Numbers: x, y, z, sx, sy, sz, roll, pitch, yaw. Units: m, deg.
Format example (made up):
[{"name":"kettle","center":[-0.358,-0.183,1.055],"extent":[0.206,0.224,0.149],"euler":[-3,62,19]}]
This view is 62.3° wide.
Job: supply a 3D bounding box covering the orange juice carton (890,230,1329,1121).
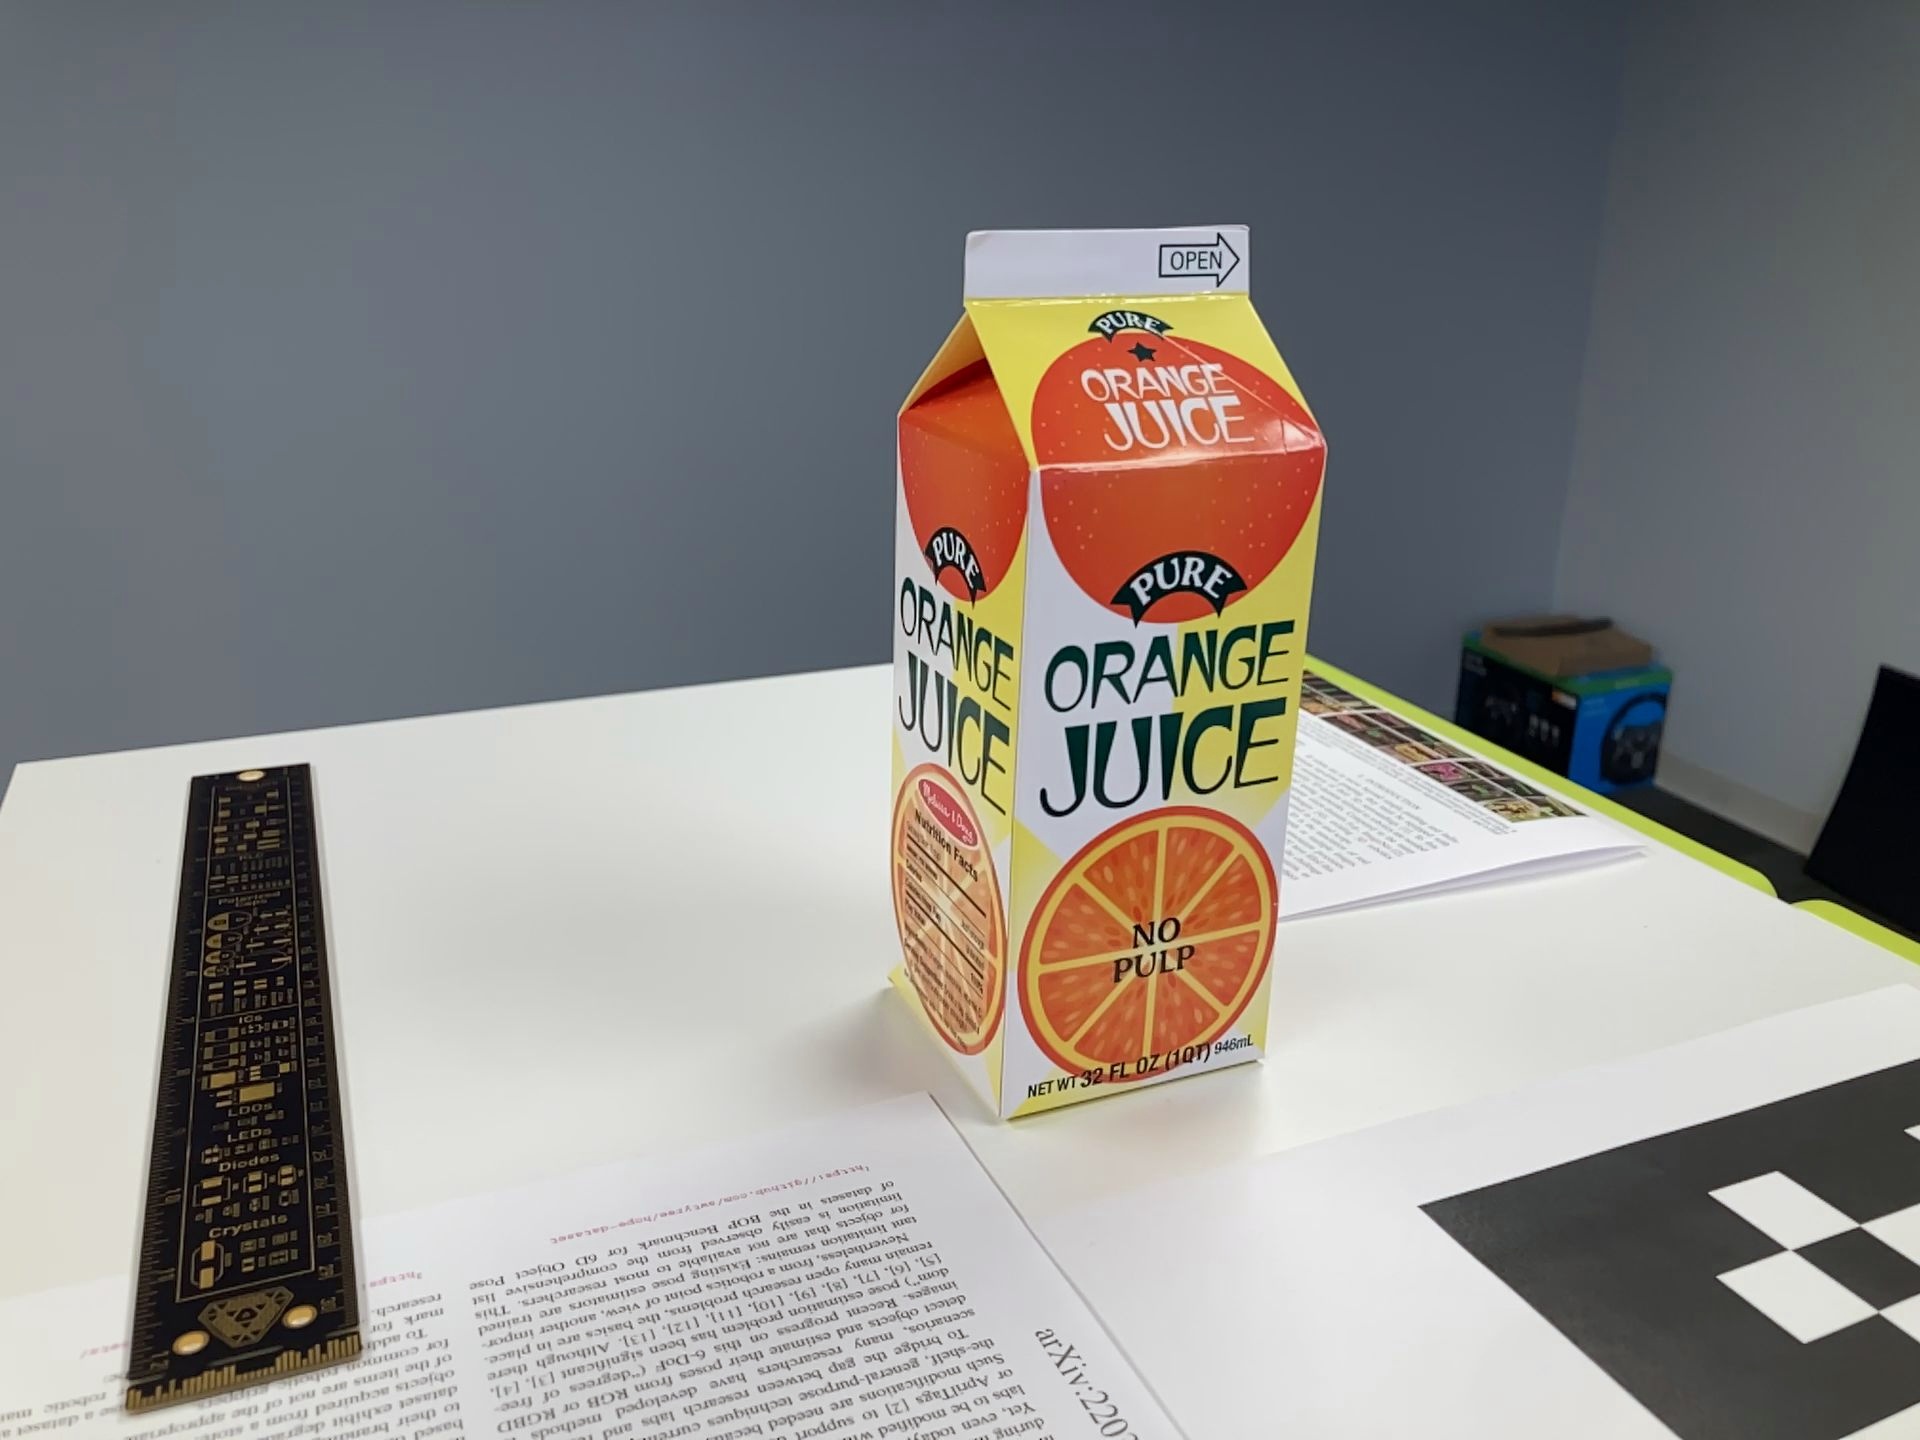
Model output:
[{"name":"orange juice carton","center":[0.030,-0.013,0.368],"extent":[0.072,0.192,0.073],"euler":[-7,22,-24]}]
